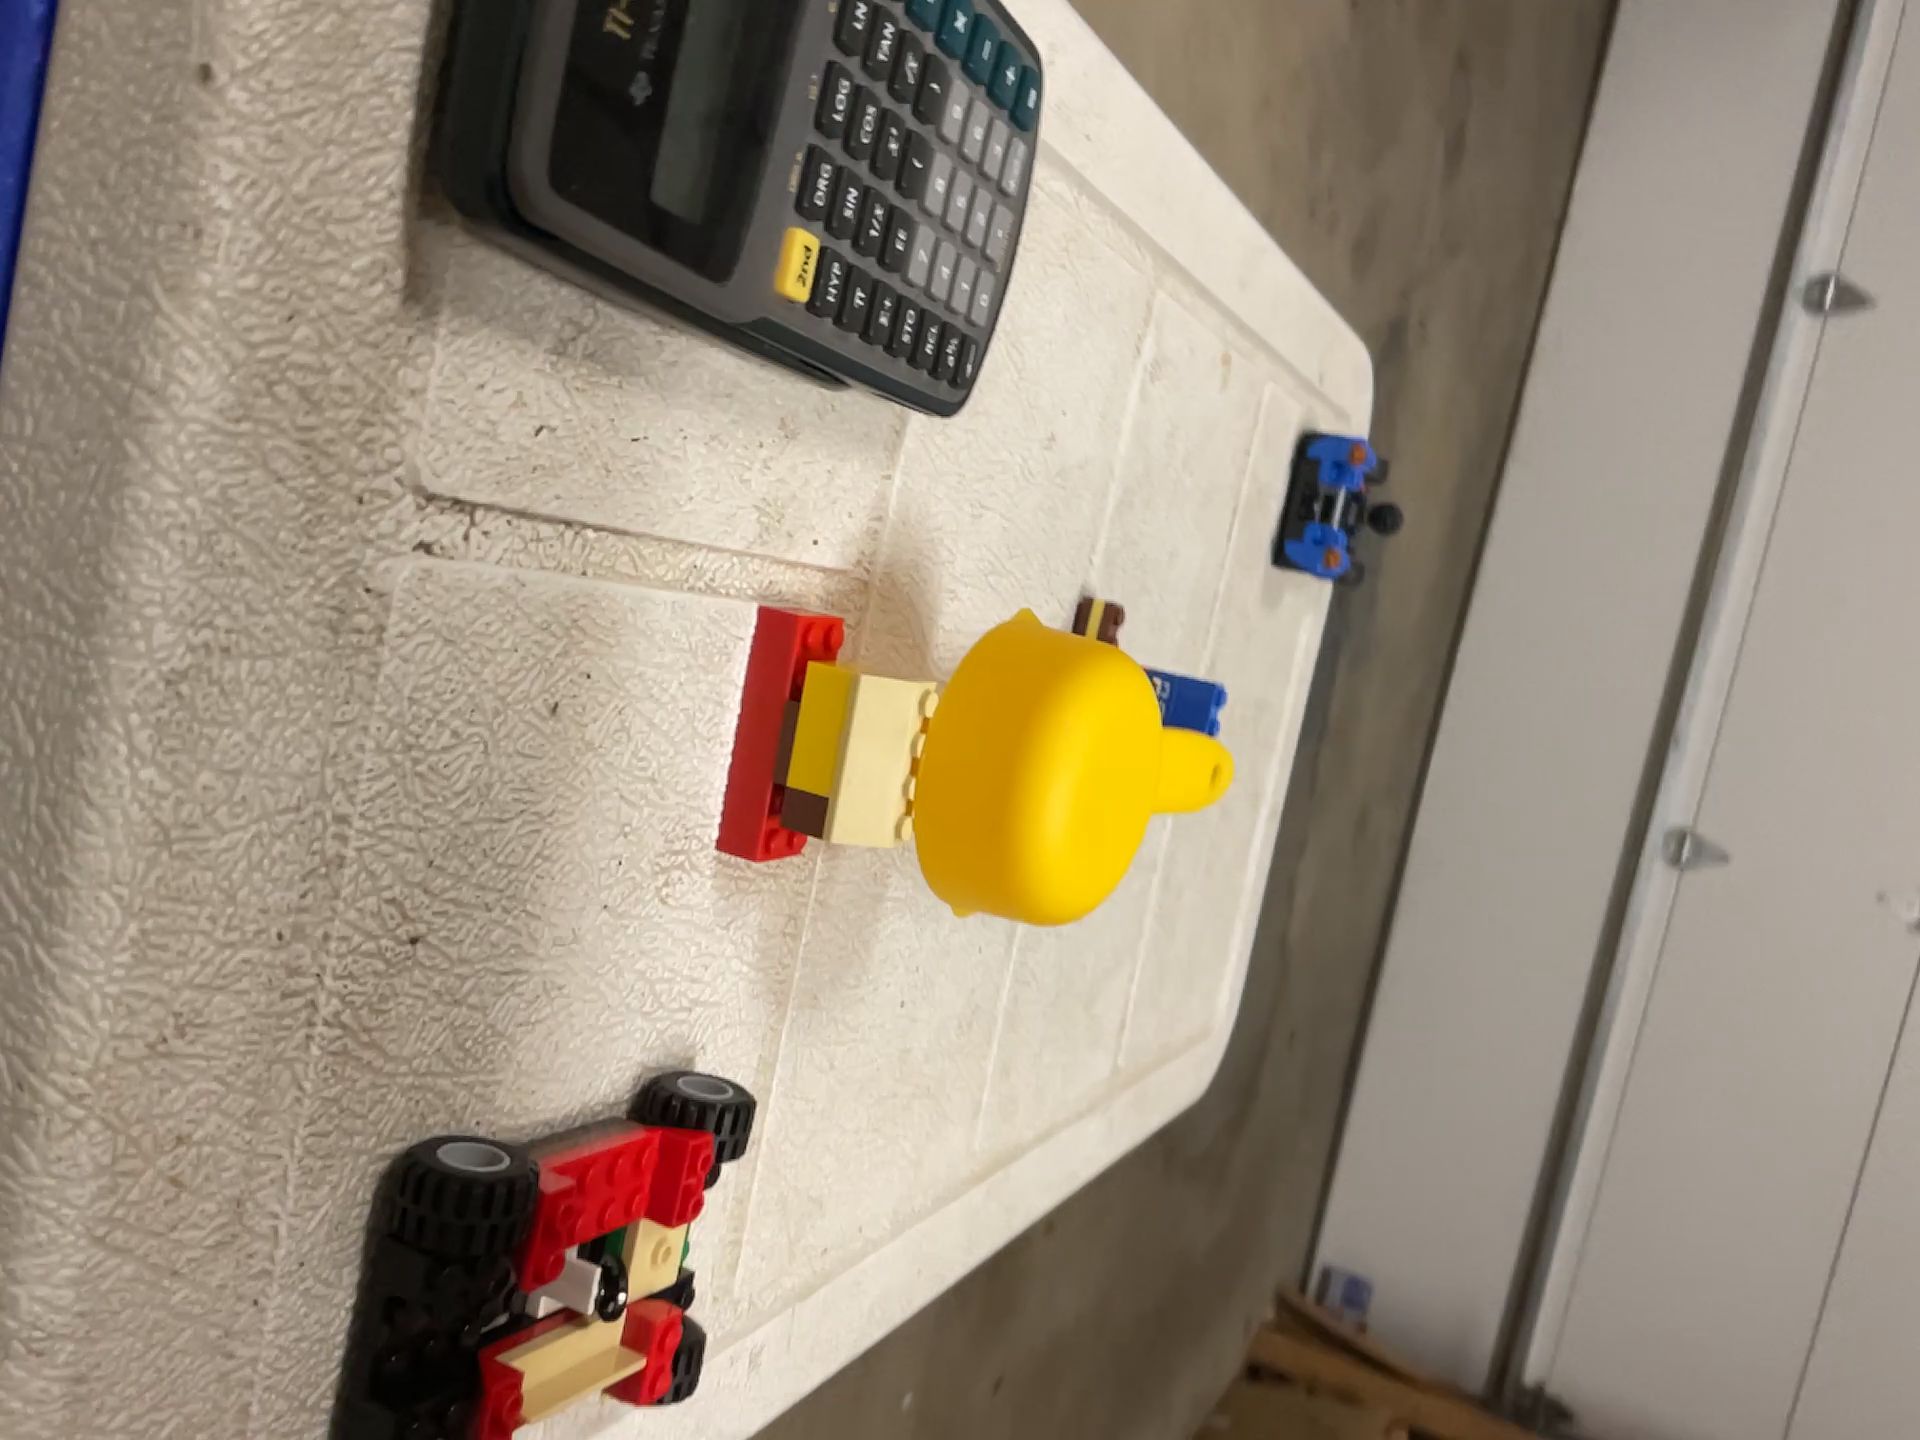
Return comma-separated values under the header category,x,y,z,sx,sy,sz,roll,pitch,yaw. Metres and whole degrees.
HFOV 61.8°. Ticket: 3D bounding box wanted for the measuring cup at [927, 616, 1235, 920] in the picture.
category,x,y,z,sx,sy,sz,roll,pitch,yaw
measuring cup,0.044,0.014,0.363,0.156,0.029,0.062,5,98,-60
